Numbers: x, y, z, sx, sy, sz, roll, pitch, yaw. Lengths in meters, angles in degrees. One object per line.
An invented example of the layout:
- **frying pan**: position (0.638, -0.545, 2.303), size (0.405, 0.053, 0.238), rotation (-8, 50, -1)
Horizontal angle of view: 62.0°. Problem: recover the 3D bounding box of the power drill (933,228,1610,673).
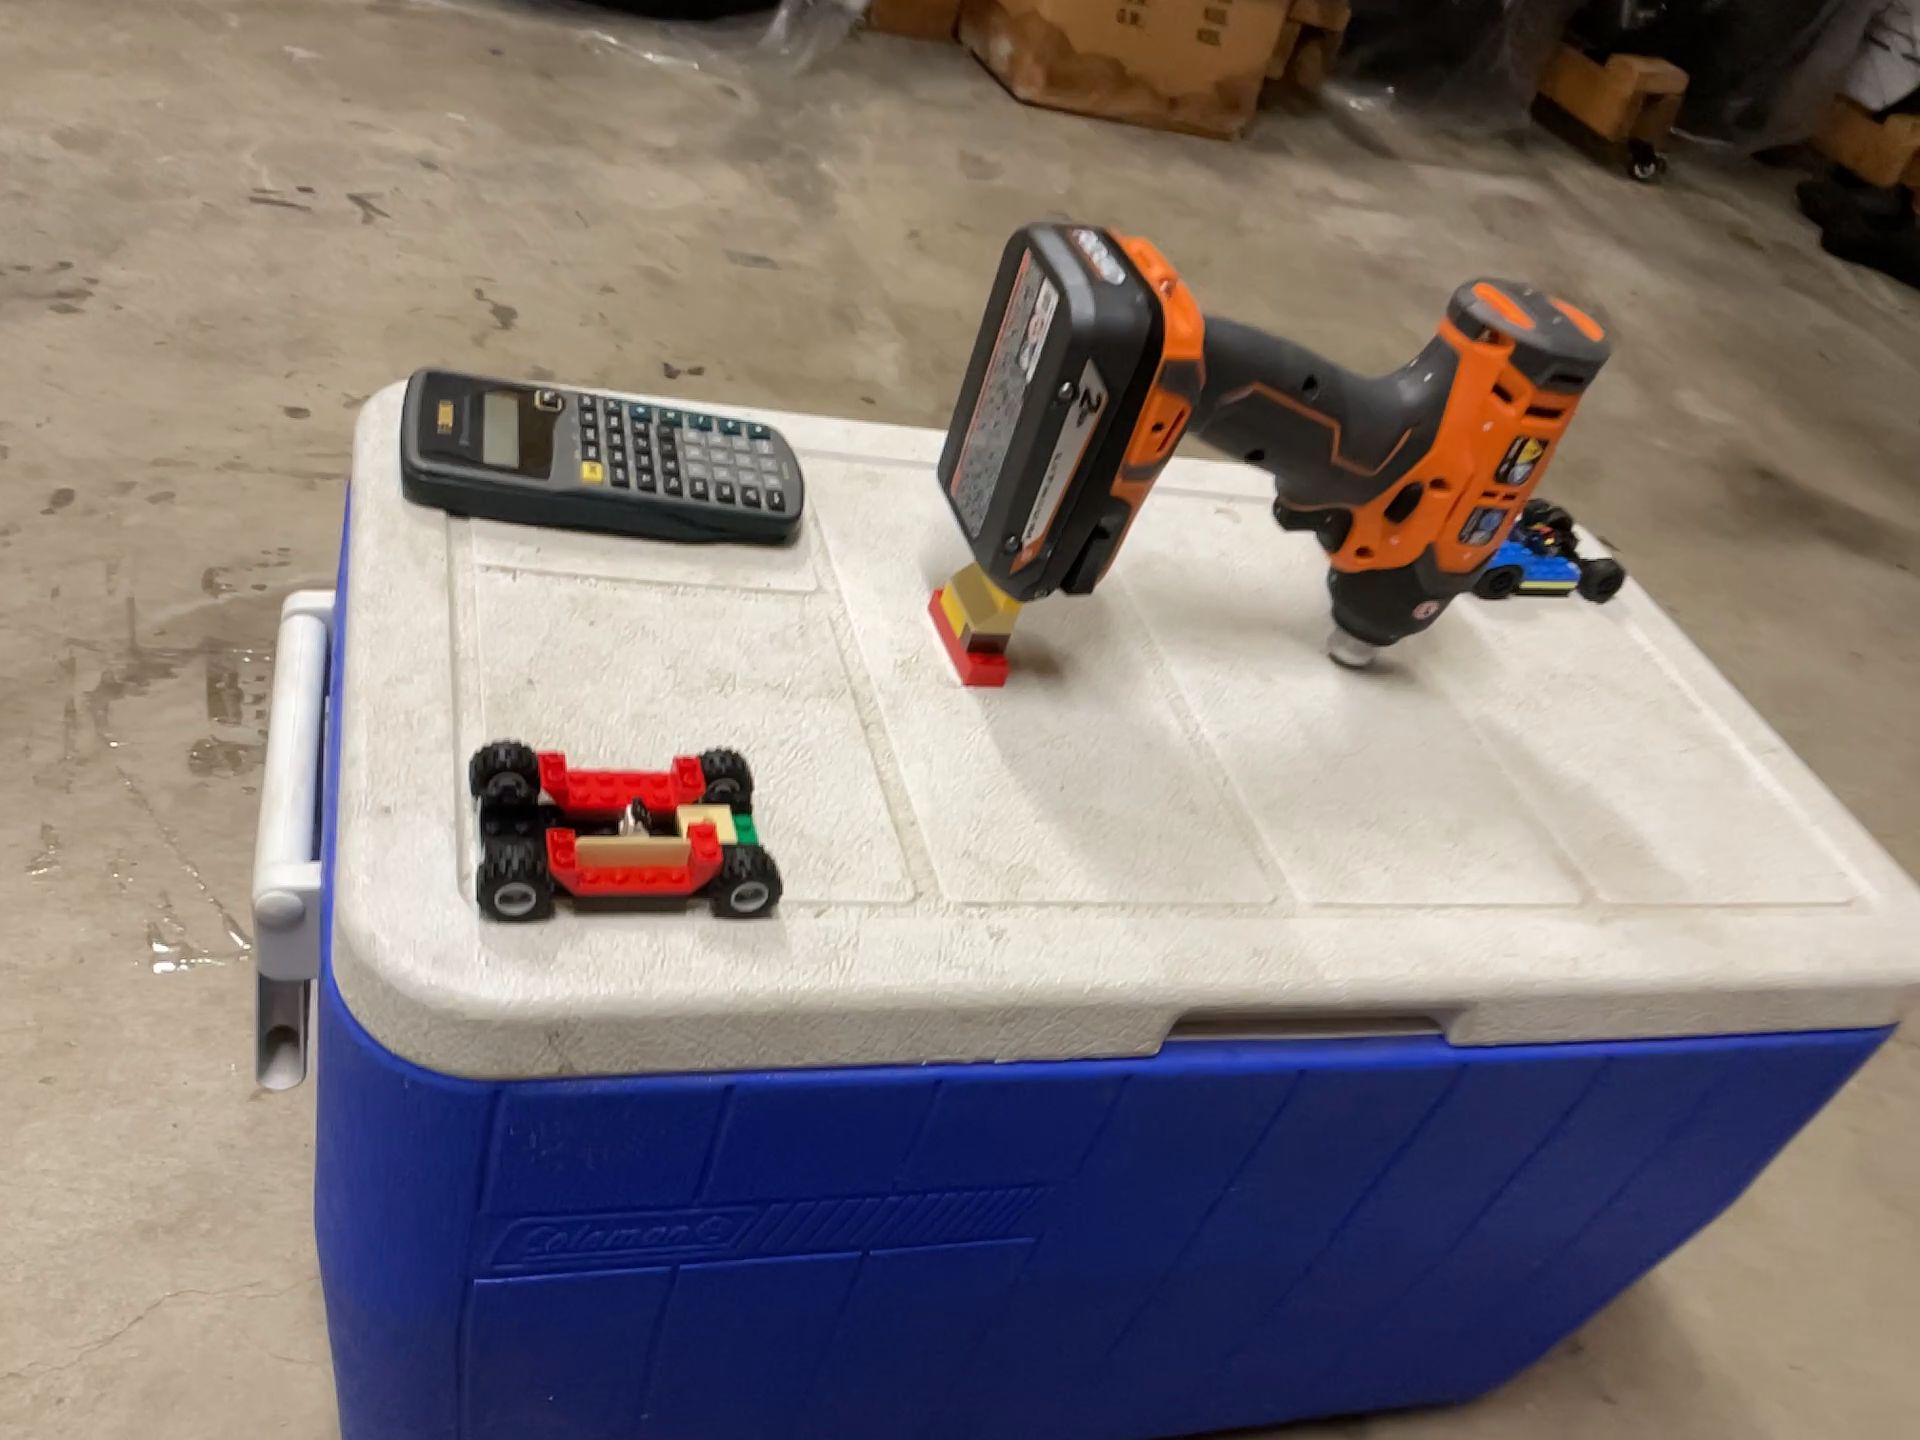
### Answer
- **power drill**: position (0.111, -0.090, 0.596), size (0.226, 0.164, 0.084), rotation (2, 39, -22)
